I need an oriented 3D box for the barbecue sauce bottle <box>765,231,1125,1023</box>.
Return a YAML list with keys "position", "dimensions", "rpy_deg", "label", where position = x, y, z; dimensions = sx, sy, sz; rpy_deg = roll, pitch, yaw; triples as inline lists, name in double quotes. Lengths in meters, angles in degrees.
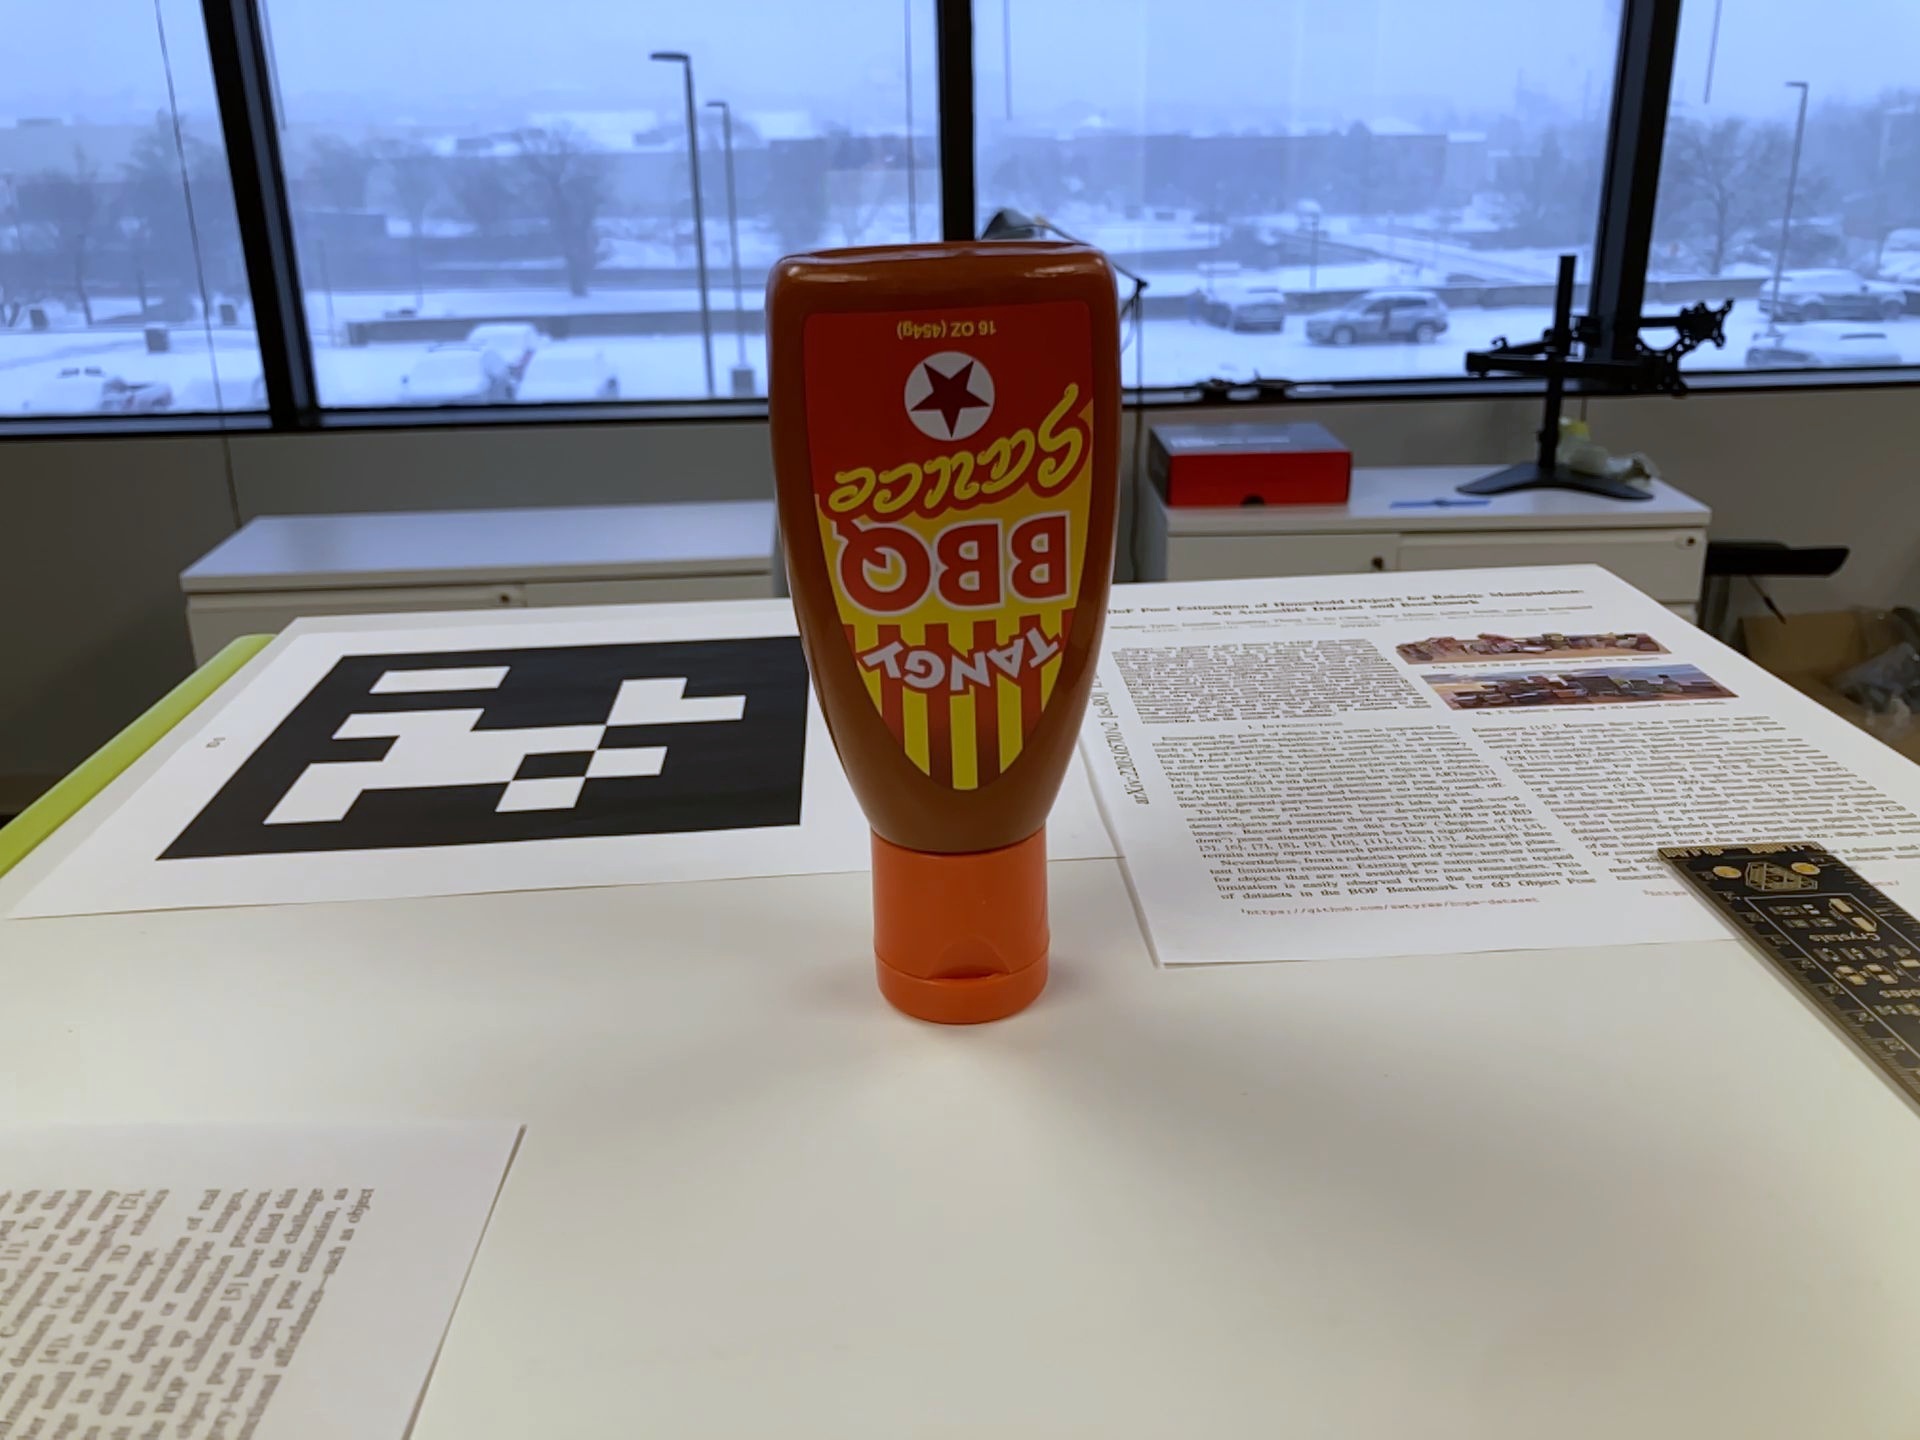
- position: [-0.001, -0.016, 0.305]
  dimensions: [0.065, 0.148, 0.043]
  rpy_deg: [-3, 20, -4]
  label: "barbecue sauce bottle"
